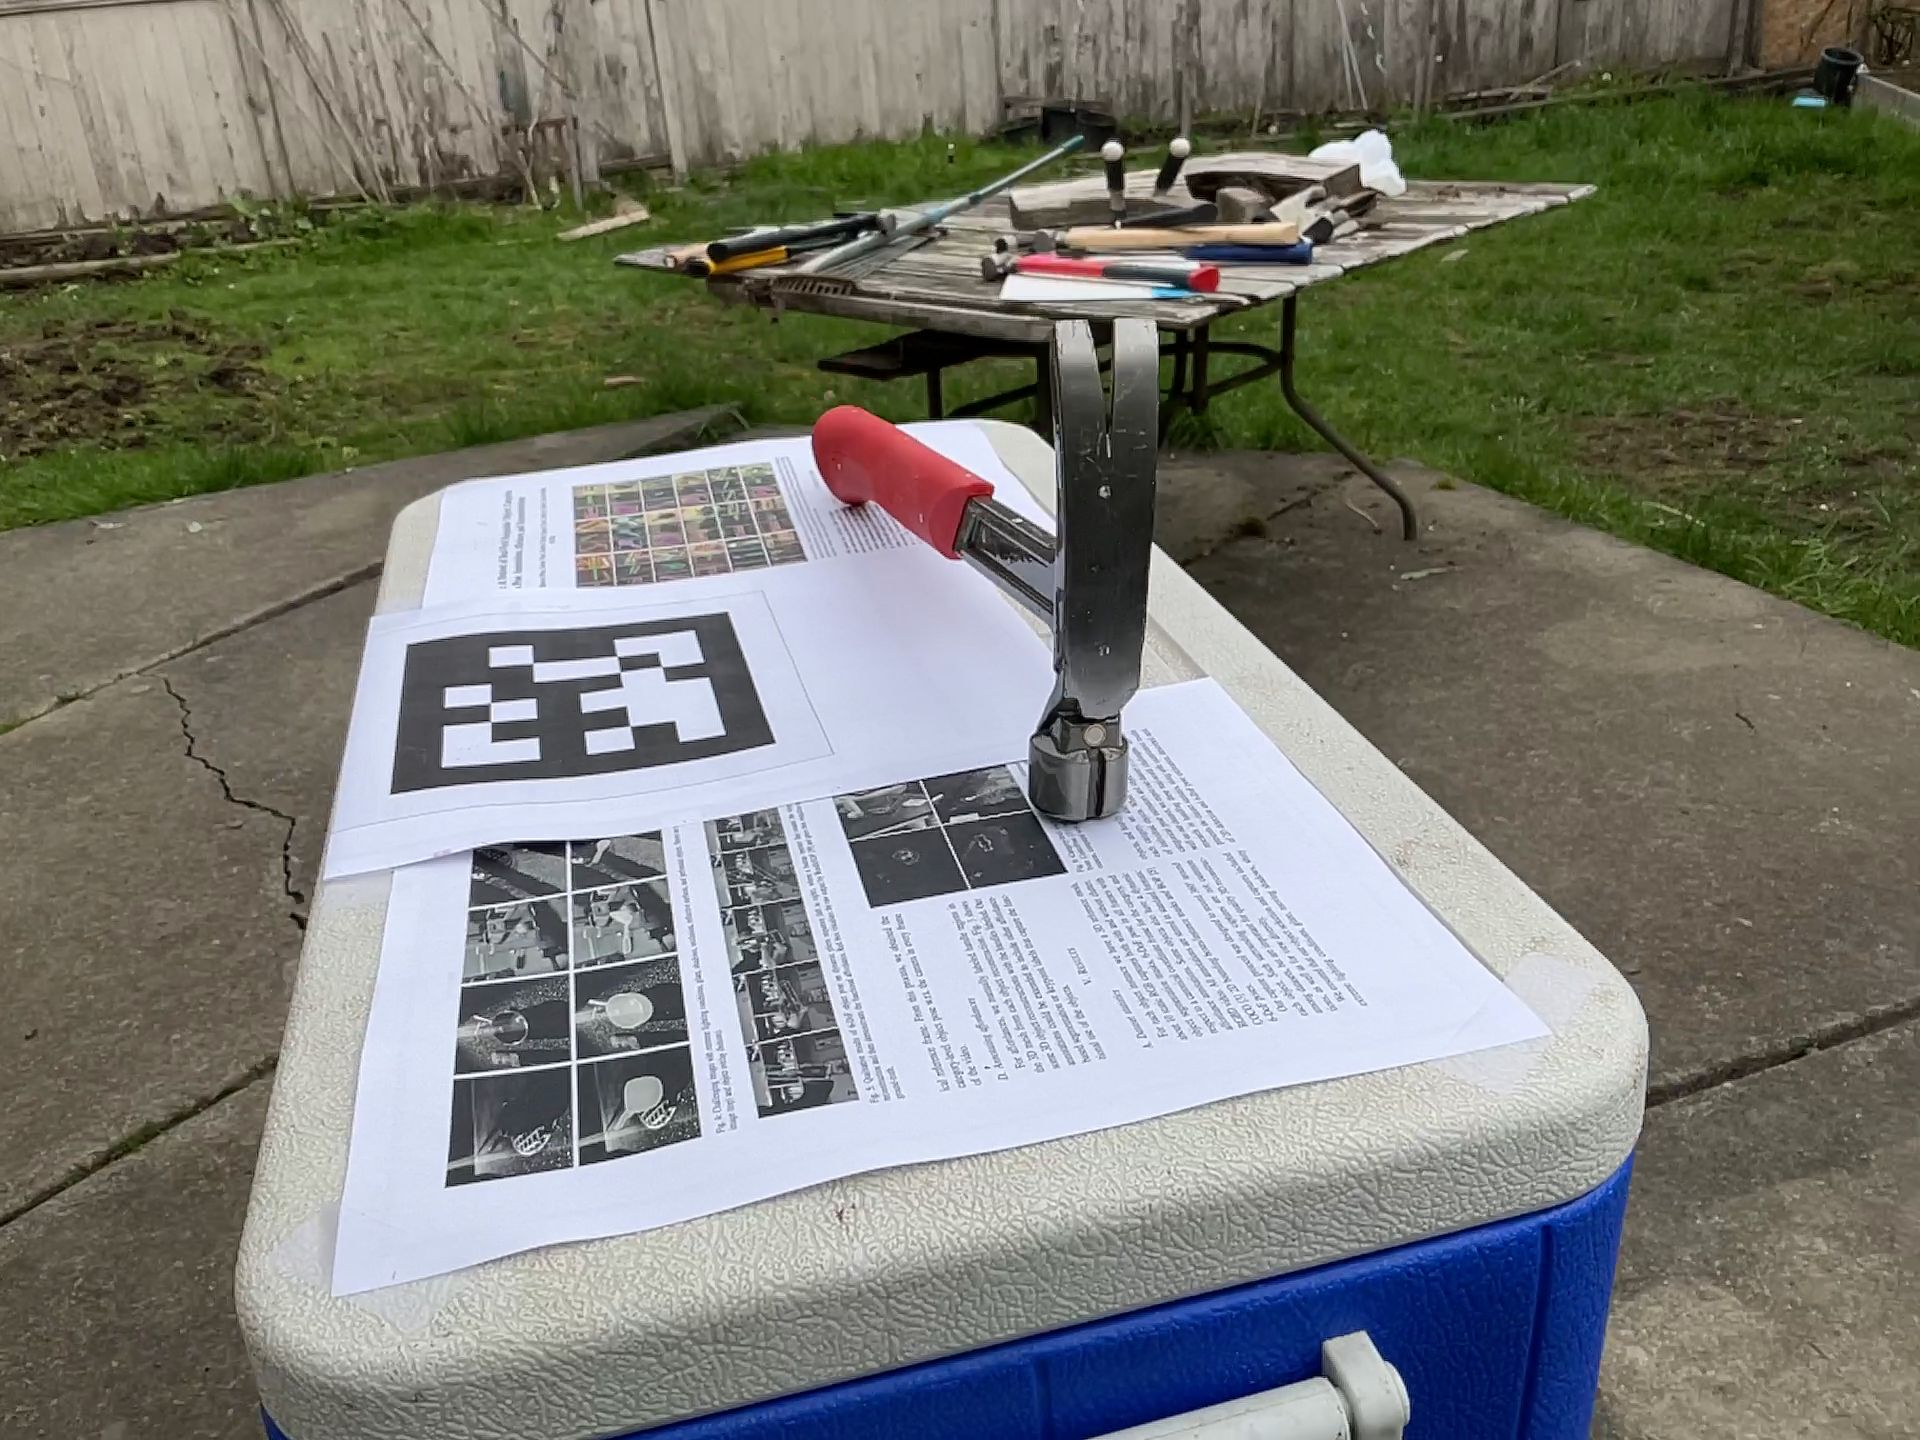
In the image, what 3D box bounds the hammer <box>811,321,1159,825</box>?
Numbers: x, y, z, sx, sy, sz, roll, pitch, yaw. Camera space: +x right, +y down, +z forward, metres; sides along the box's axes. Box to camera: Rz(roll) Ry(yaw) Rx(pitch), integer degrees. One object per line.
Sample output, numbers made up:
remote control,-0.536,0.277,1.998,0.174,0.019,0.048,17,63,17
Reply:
hammer,-0.007,-0.092,0.623,0.036,0.149,0.359,-5,19,-15
